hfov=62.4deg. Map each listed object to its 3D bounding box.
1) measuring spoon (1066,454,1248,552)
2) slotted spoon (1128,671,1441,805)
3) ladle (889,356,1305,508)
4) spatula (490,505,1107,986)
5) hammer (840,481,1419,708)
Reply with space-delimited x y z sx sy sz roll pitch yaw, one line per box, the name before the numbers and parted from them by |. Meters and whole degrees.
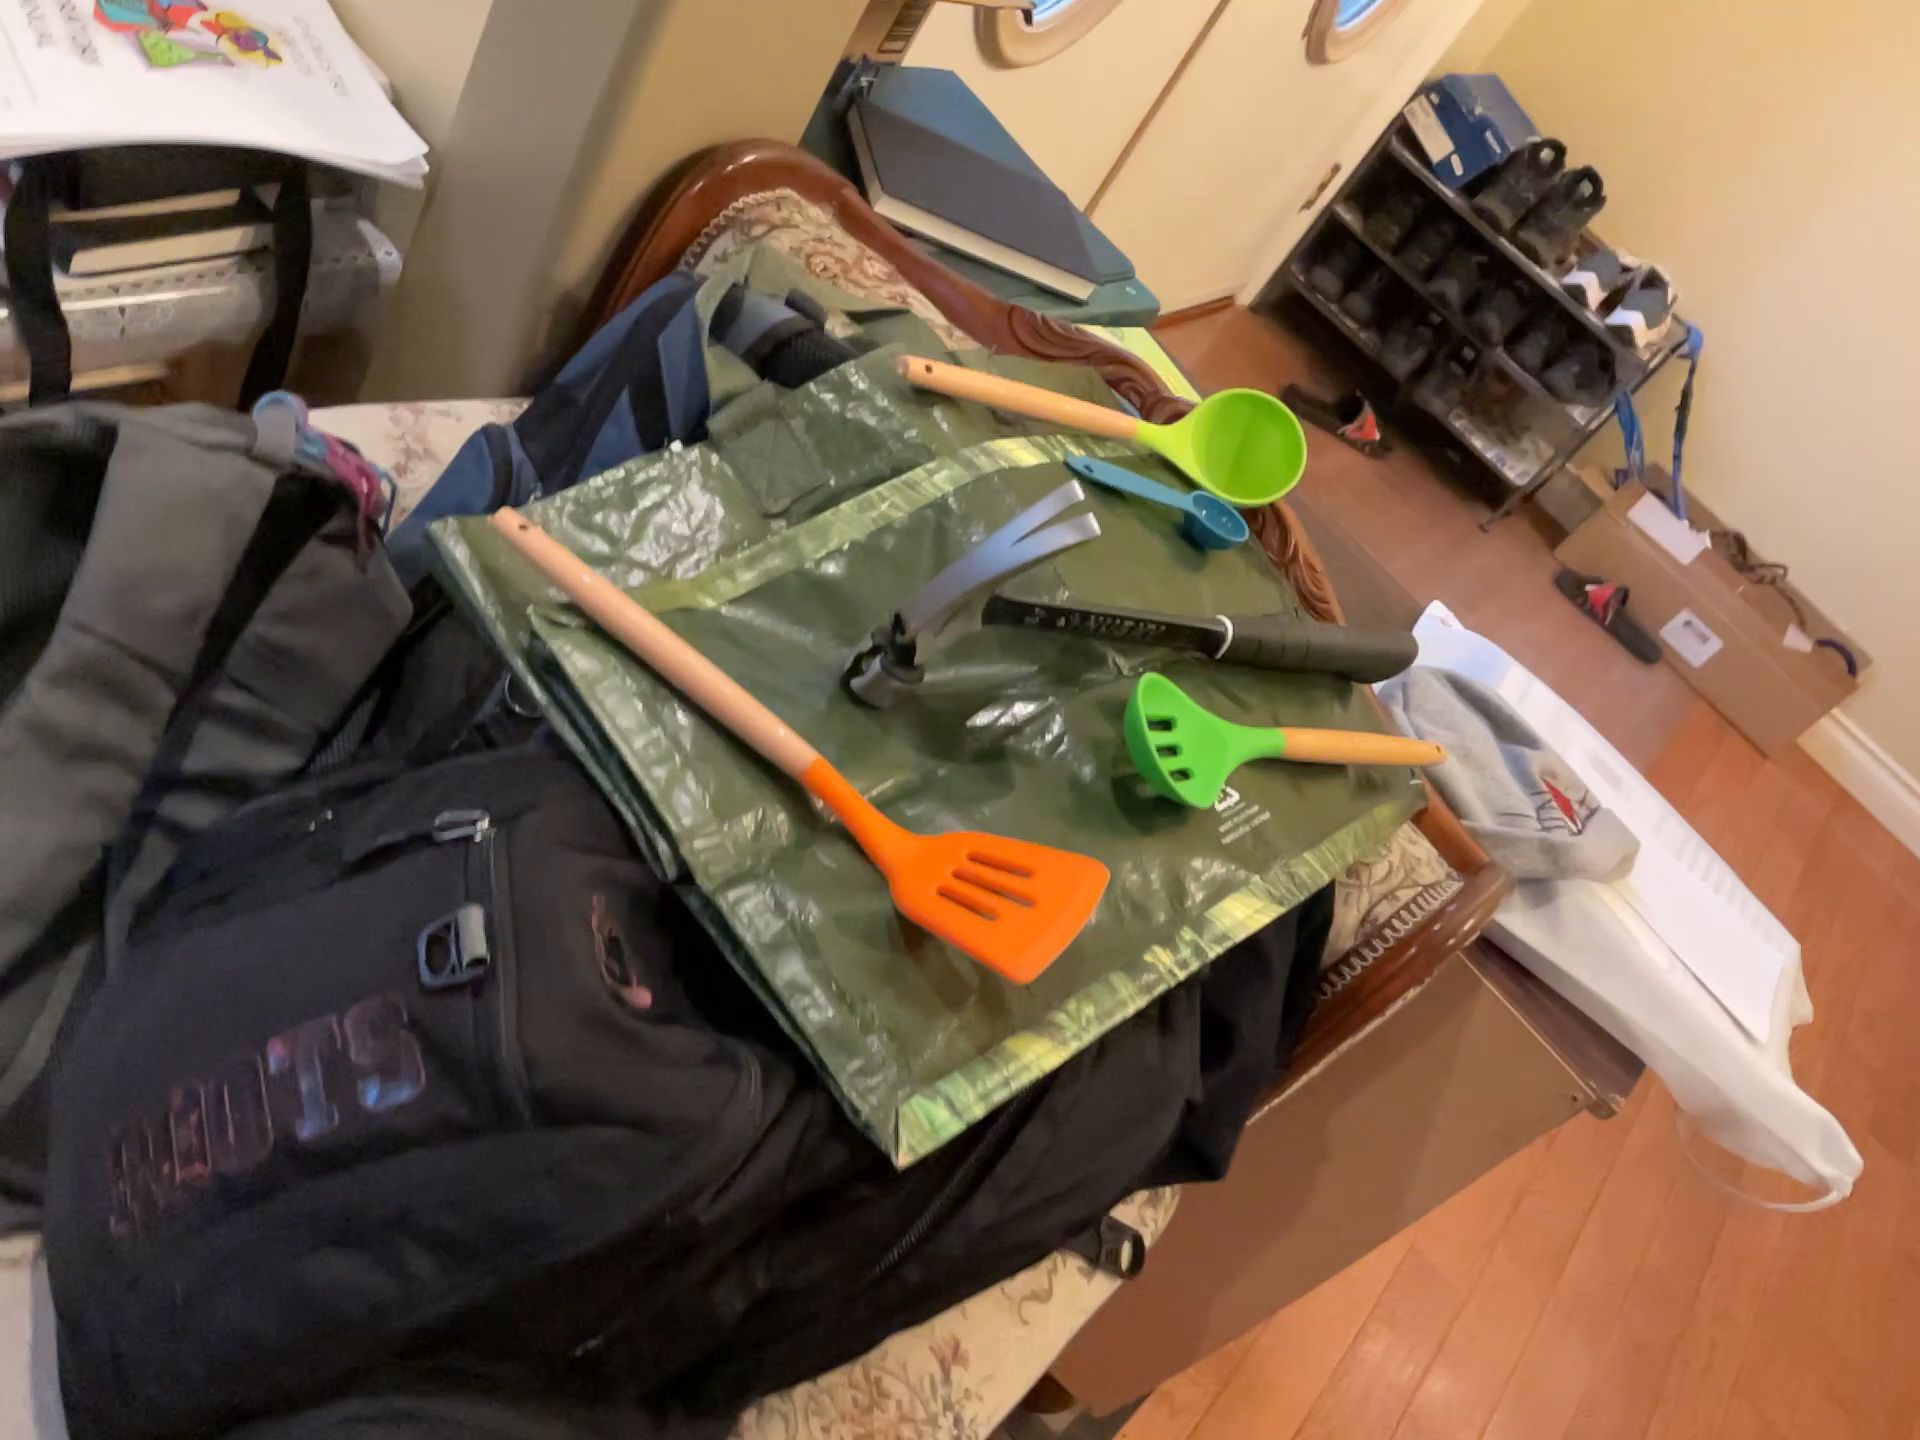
measuring spoon | 0.111 -0.125 0.922 0.128 0.021 0.042 16 40 -26
slotted spoon | 0.183 0.015 0.856 0.313 0.031 0.070 4 63 -47
ladle | 0.090 -0.178 0.928 0.319 0.062 0.078 4 74 -44
spatula | -0.083 0.001 0.697 0.323 0.041 0.081 39 46 8
hammer | 0.132 -0.049 0.860 0.408 0.149 0.036 3 58 -44
